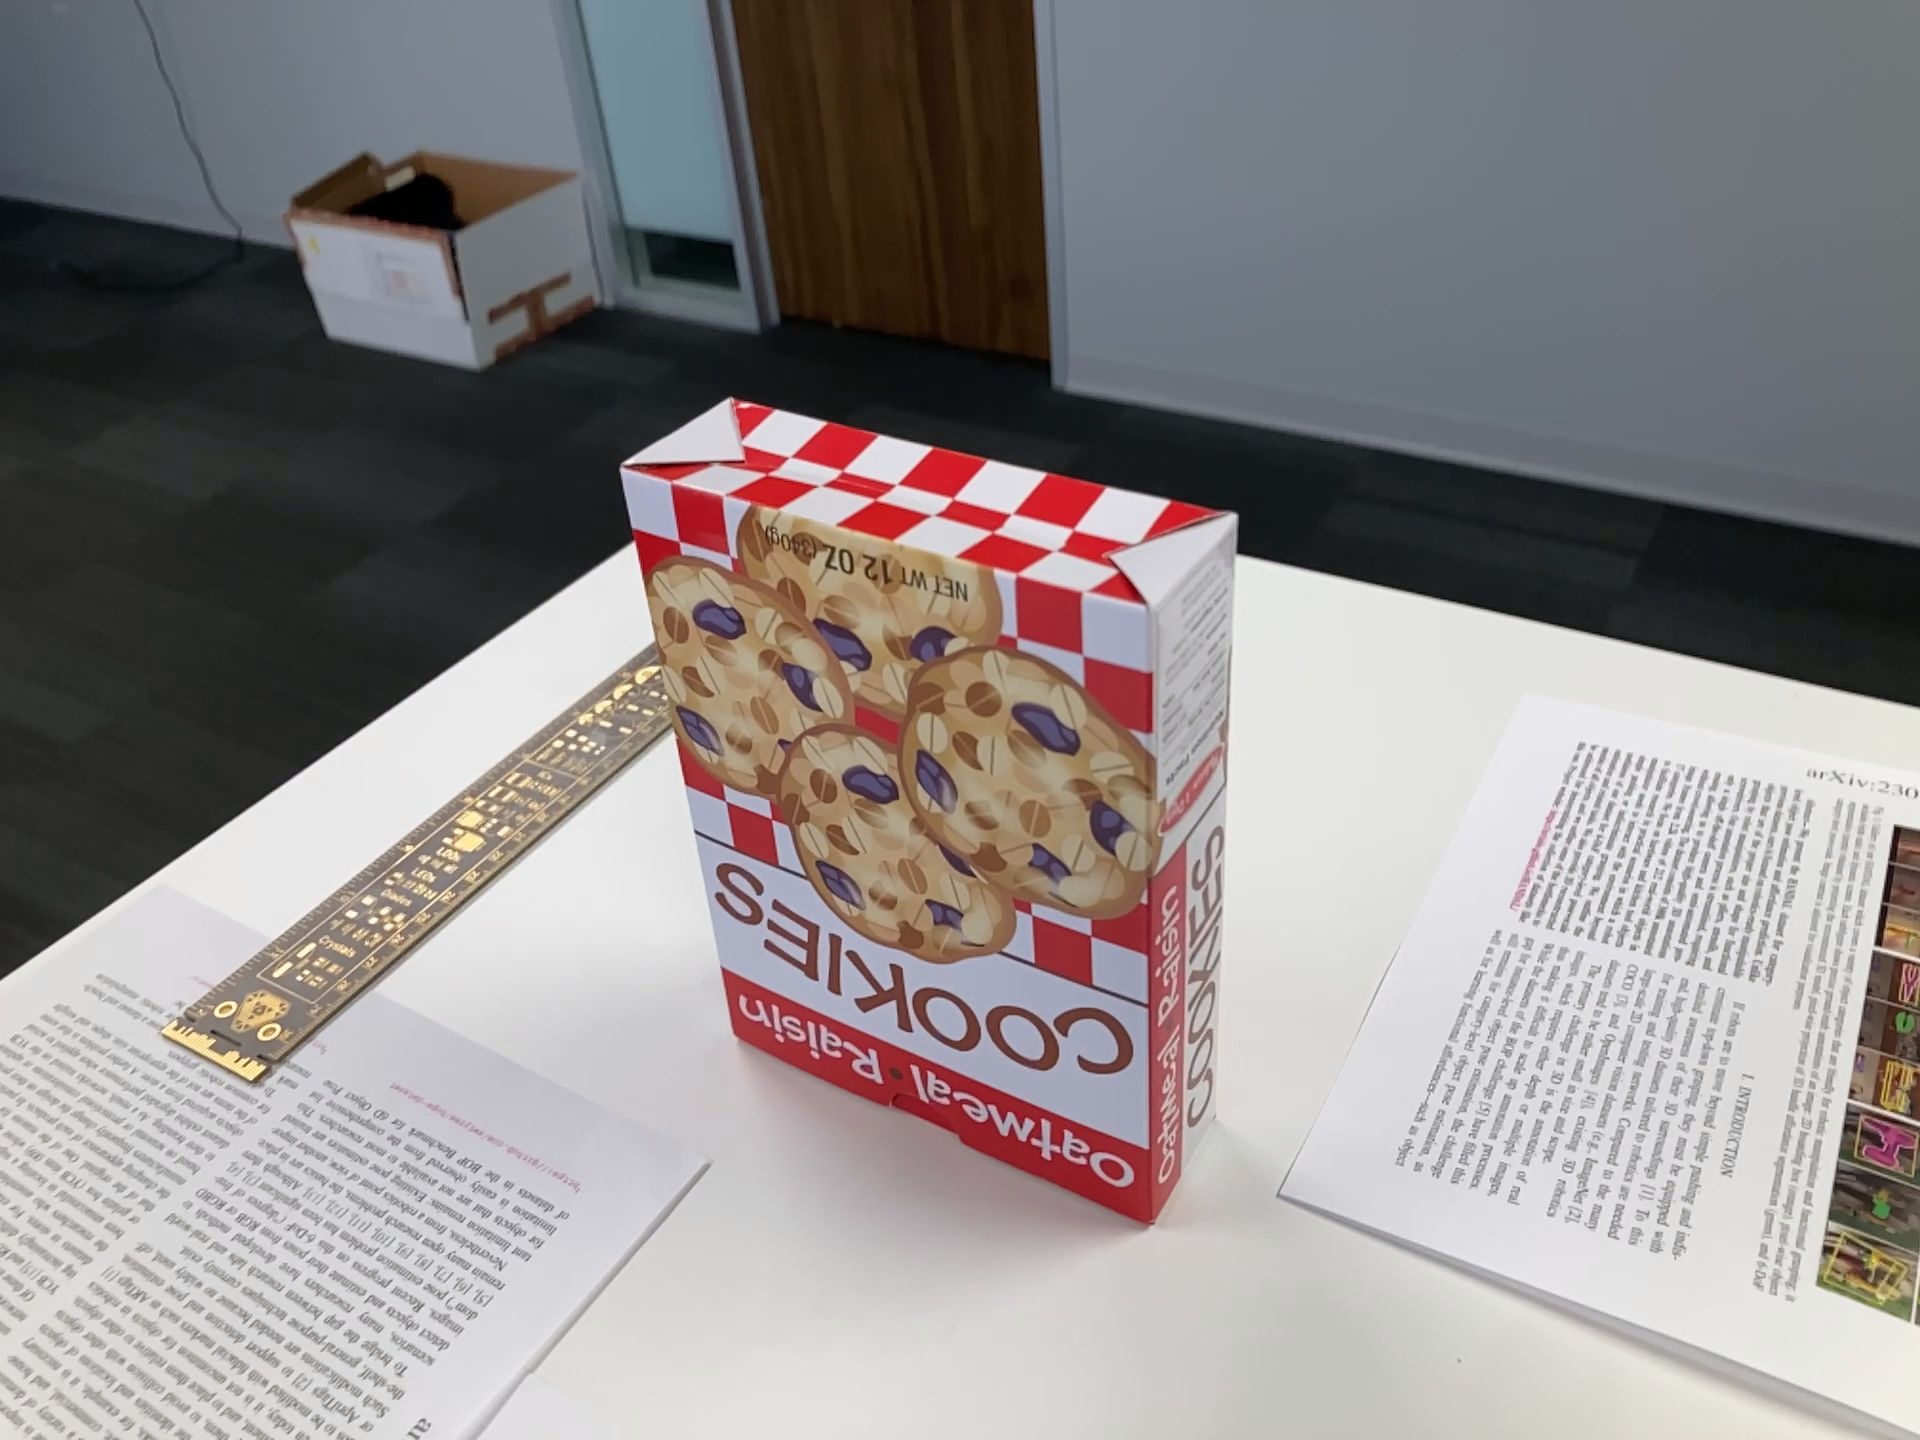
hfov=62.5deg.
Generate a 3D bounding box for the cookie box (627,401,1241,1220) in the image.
[{"bbox_3d":[-0.004,0.024,0.356,0.123,0.167,0.040,18,41,28],"label":"cookie box"}]
